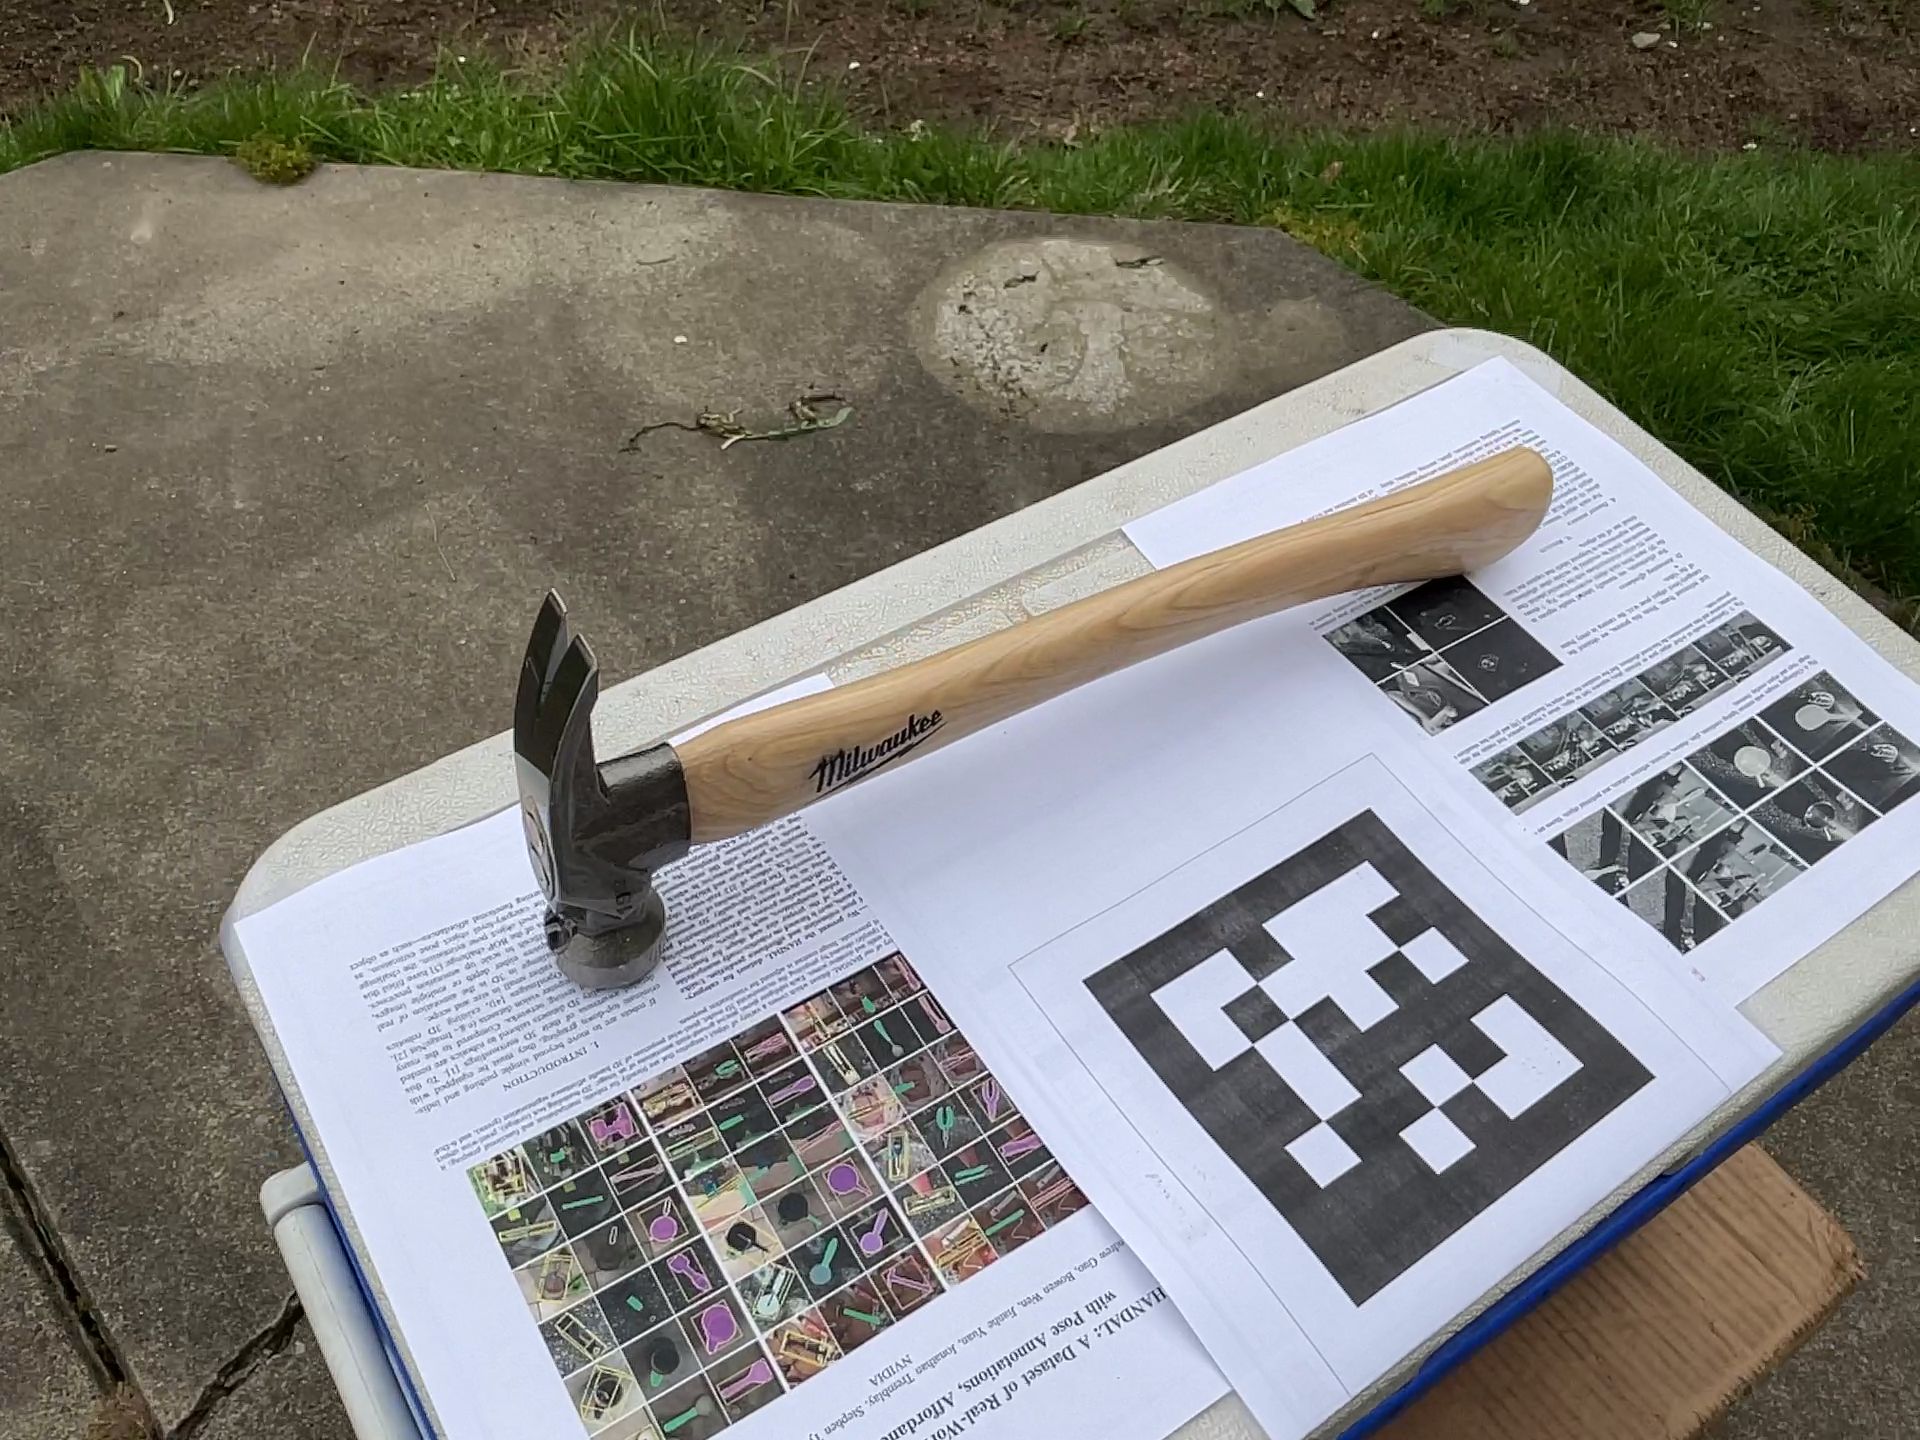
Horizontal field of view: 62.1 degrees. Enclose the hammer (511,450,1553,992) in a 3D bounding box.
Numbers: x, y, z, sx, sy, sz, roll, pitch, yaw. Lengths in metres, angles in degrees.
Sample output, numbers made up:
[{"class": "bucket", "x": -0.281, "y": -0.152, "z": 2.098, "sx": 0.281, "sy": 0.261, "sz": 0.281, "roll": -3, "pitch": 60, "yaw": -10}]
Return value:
[{"class": "hammer", "x": 0.051, "y": -0.035, "z": 0.541, "sx": 0.410, "sy": 0.146, "sz": 0.038, "roll": -21, "pitch": 55, "yaw": -25}]
